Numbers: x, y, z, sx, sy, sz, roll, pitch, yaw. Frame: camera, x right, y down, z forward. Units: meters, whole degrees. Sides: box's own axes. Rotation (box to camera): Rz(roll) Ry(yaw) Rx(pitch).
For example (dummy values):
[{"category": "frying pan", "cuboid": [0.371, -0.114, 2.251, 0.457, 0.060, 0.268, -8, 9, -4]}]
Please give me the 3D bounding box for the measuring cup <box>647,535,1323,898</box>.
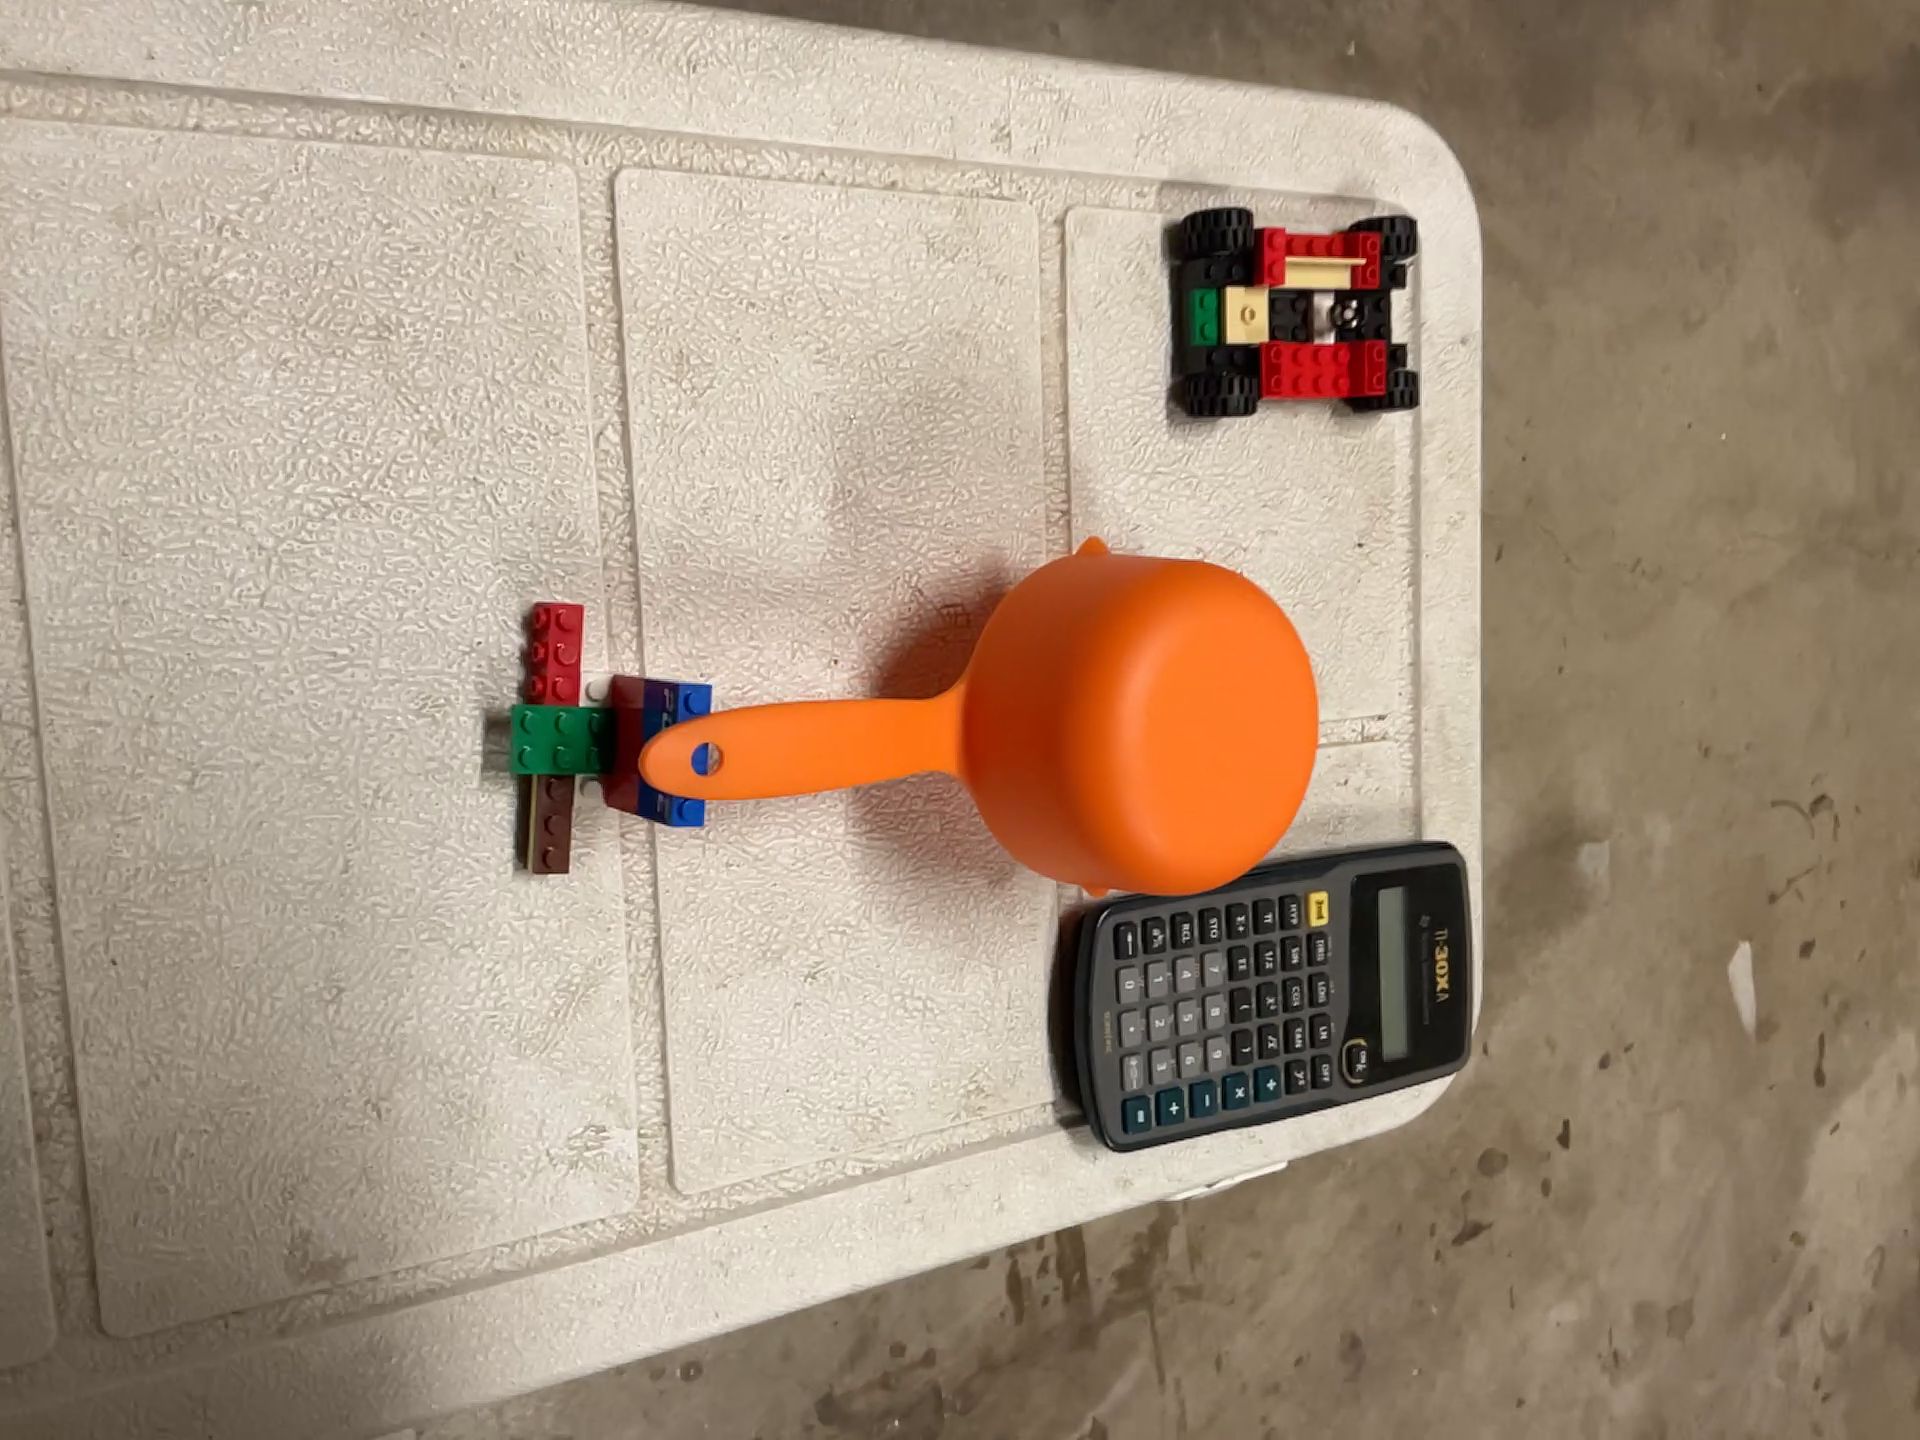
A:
[{"category": "measuring cup", "cuboid": [0.016, 0.004, 0.375, 0.173, 0.052, 0.095, -5, 96, -37]}]
